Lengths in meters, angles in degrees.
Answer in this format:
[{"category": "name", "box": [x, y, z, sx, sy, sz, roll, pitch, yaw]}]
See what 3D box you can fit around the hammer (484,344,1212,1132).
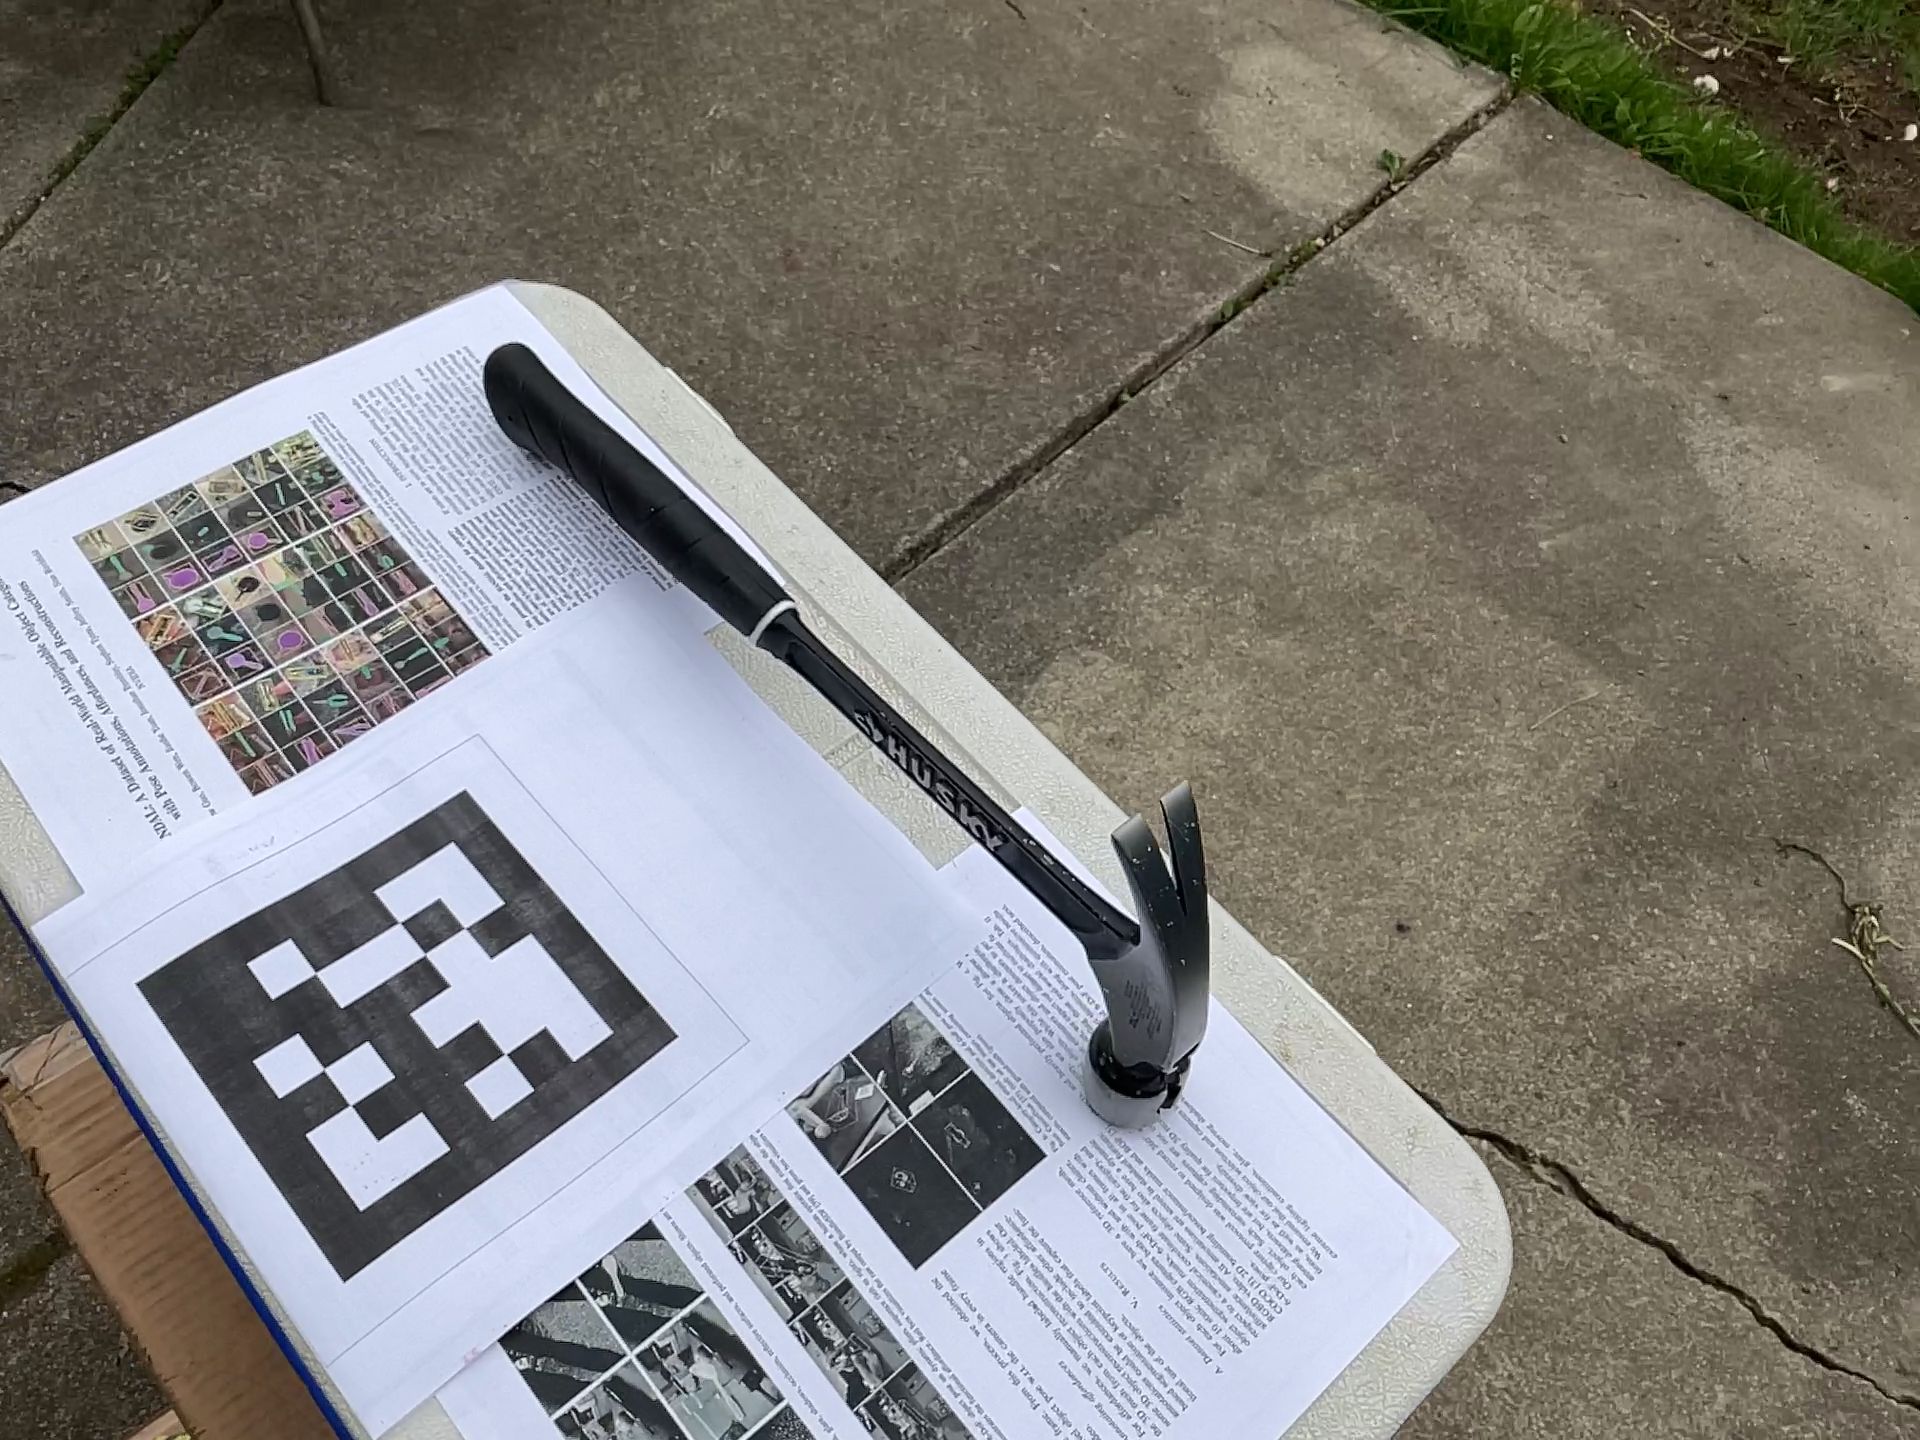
[{"category": "hammer", "box": [-0.060, -0.028, 0.590, 0.036, 0.149, 0.409, -33, 59, -26]}]
